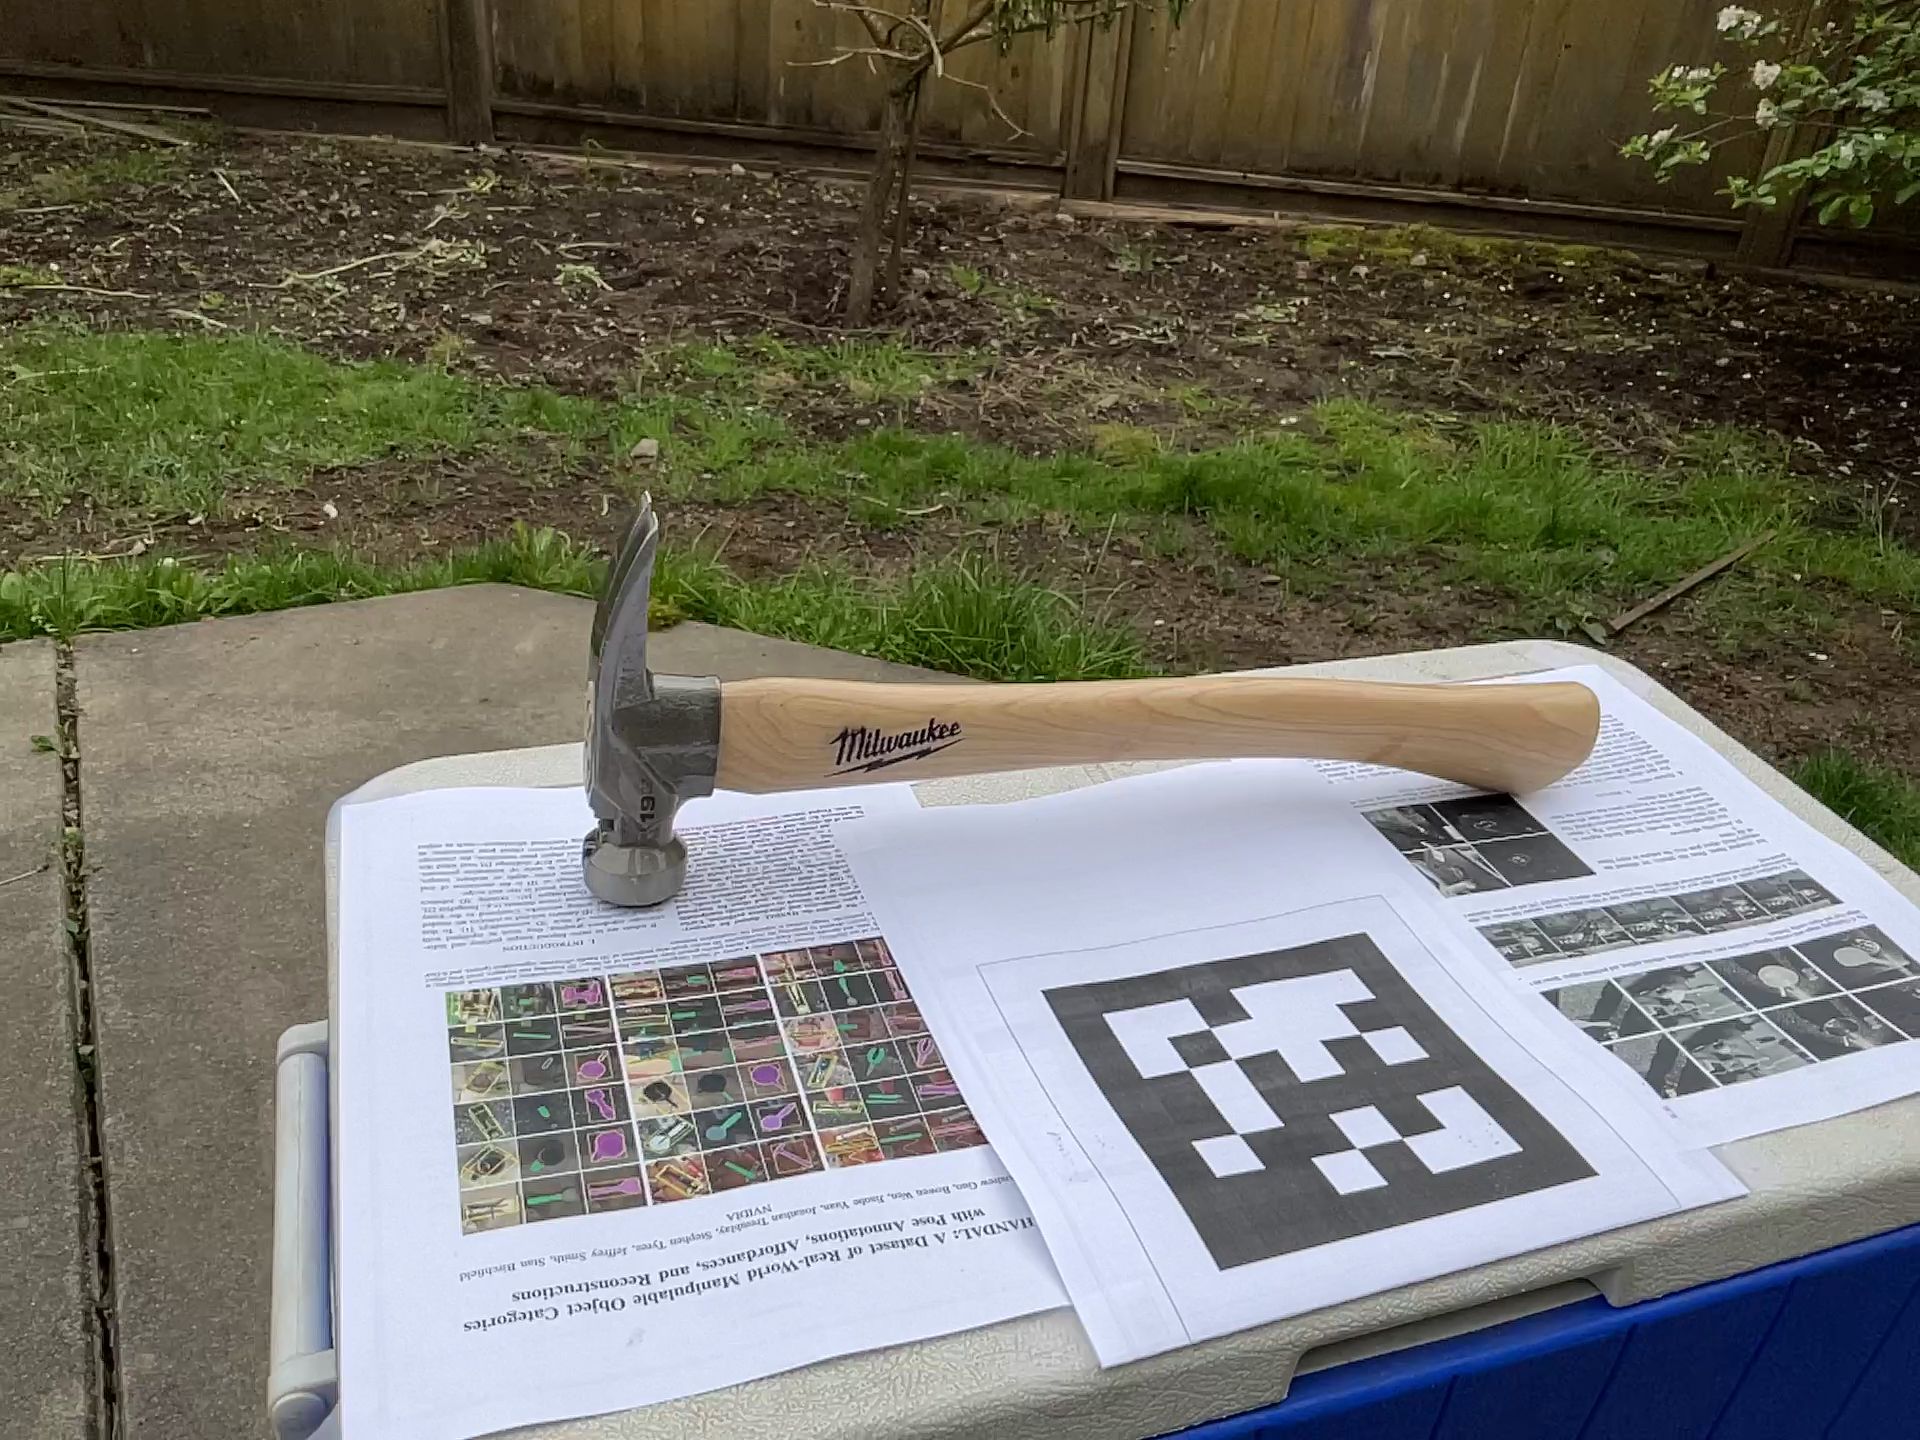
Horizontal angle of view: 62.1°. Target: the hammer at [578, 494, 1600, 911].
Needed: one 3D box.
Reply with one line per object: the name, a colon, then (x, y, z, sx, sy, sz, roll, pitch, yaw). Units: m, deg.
hammer: (0.068, -0.006, 0.604, 0.410, 0.146, 0.038, -1, 30, -19)
